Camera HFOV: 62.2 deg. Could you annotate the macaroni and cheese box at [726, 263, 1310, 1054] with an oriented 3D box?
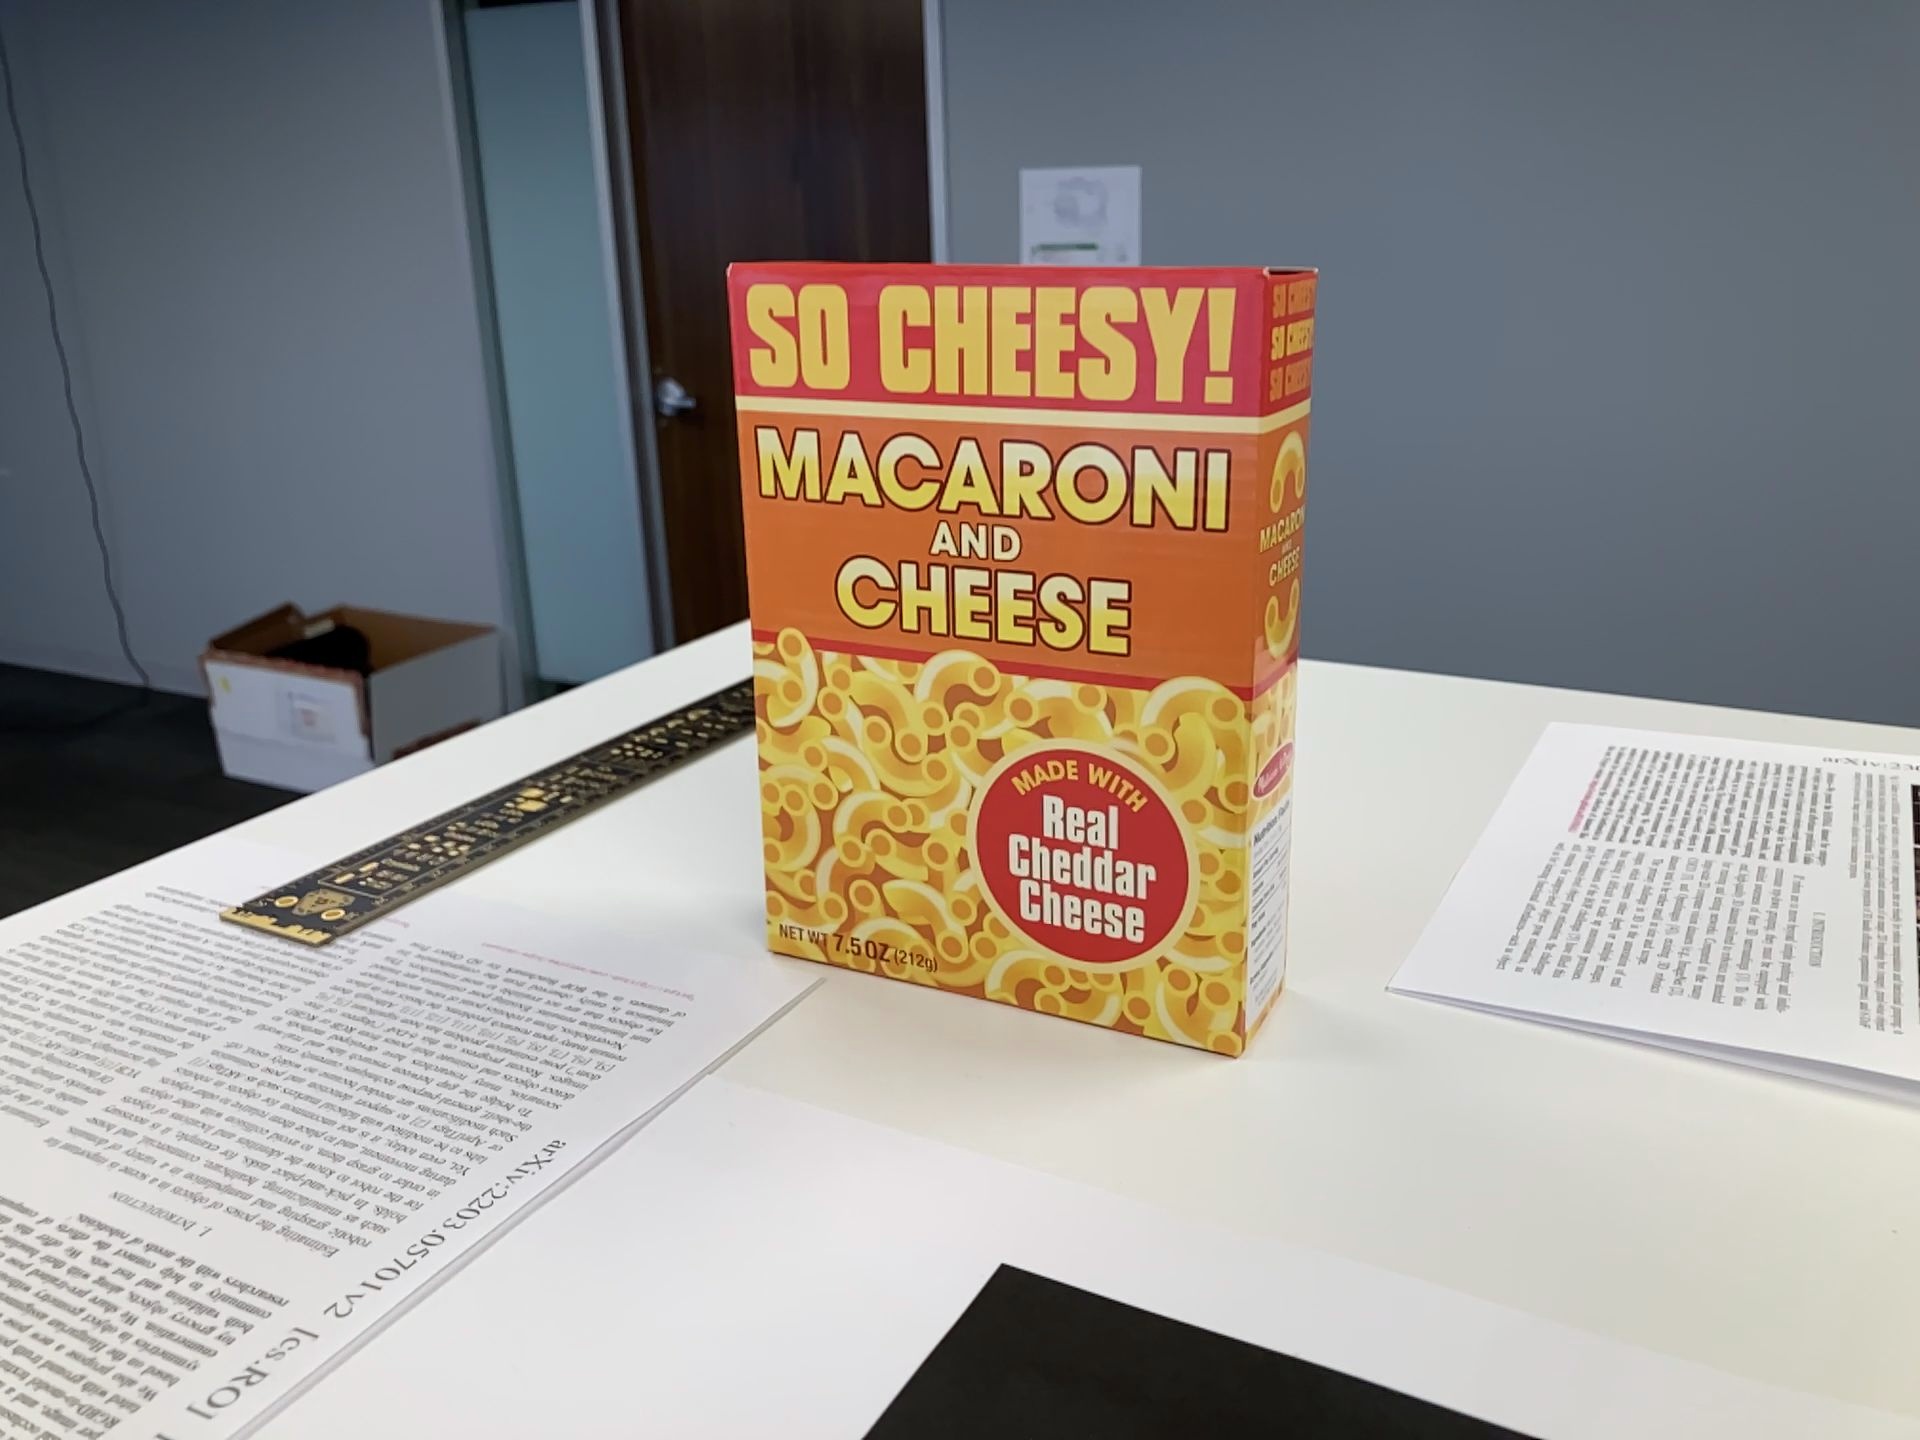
[{"bbox_3d":[0.012,-0.018,0.364,0.124,0.166,0.040,7,19,24],"label":"macaroni and cheese box"}]
